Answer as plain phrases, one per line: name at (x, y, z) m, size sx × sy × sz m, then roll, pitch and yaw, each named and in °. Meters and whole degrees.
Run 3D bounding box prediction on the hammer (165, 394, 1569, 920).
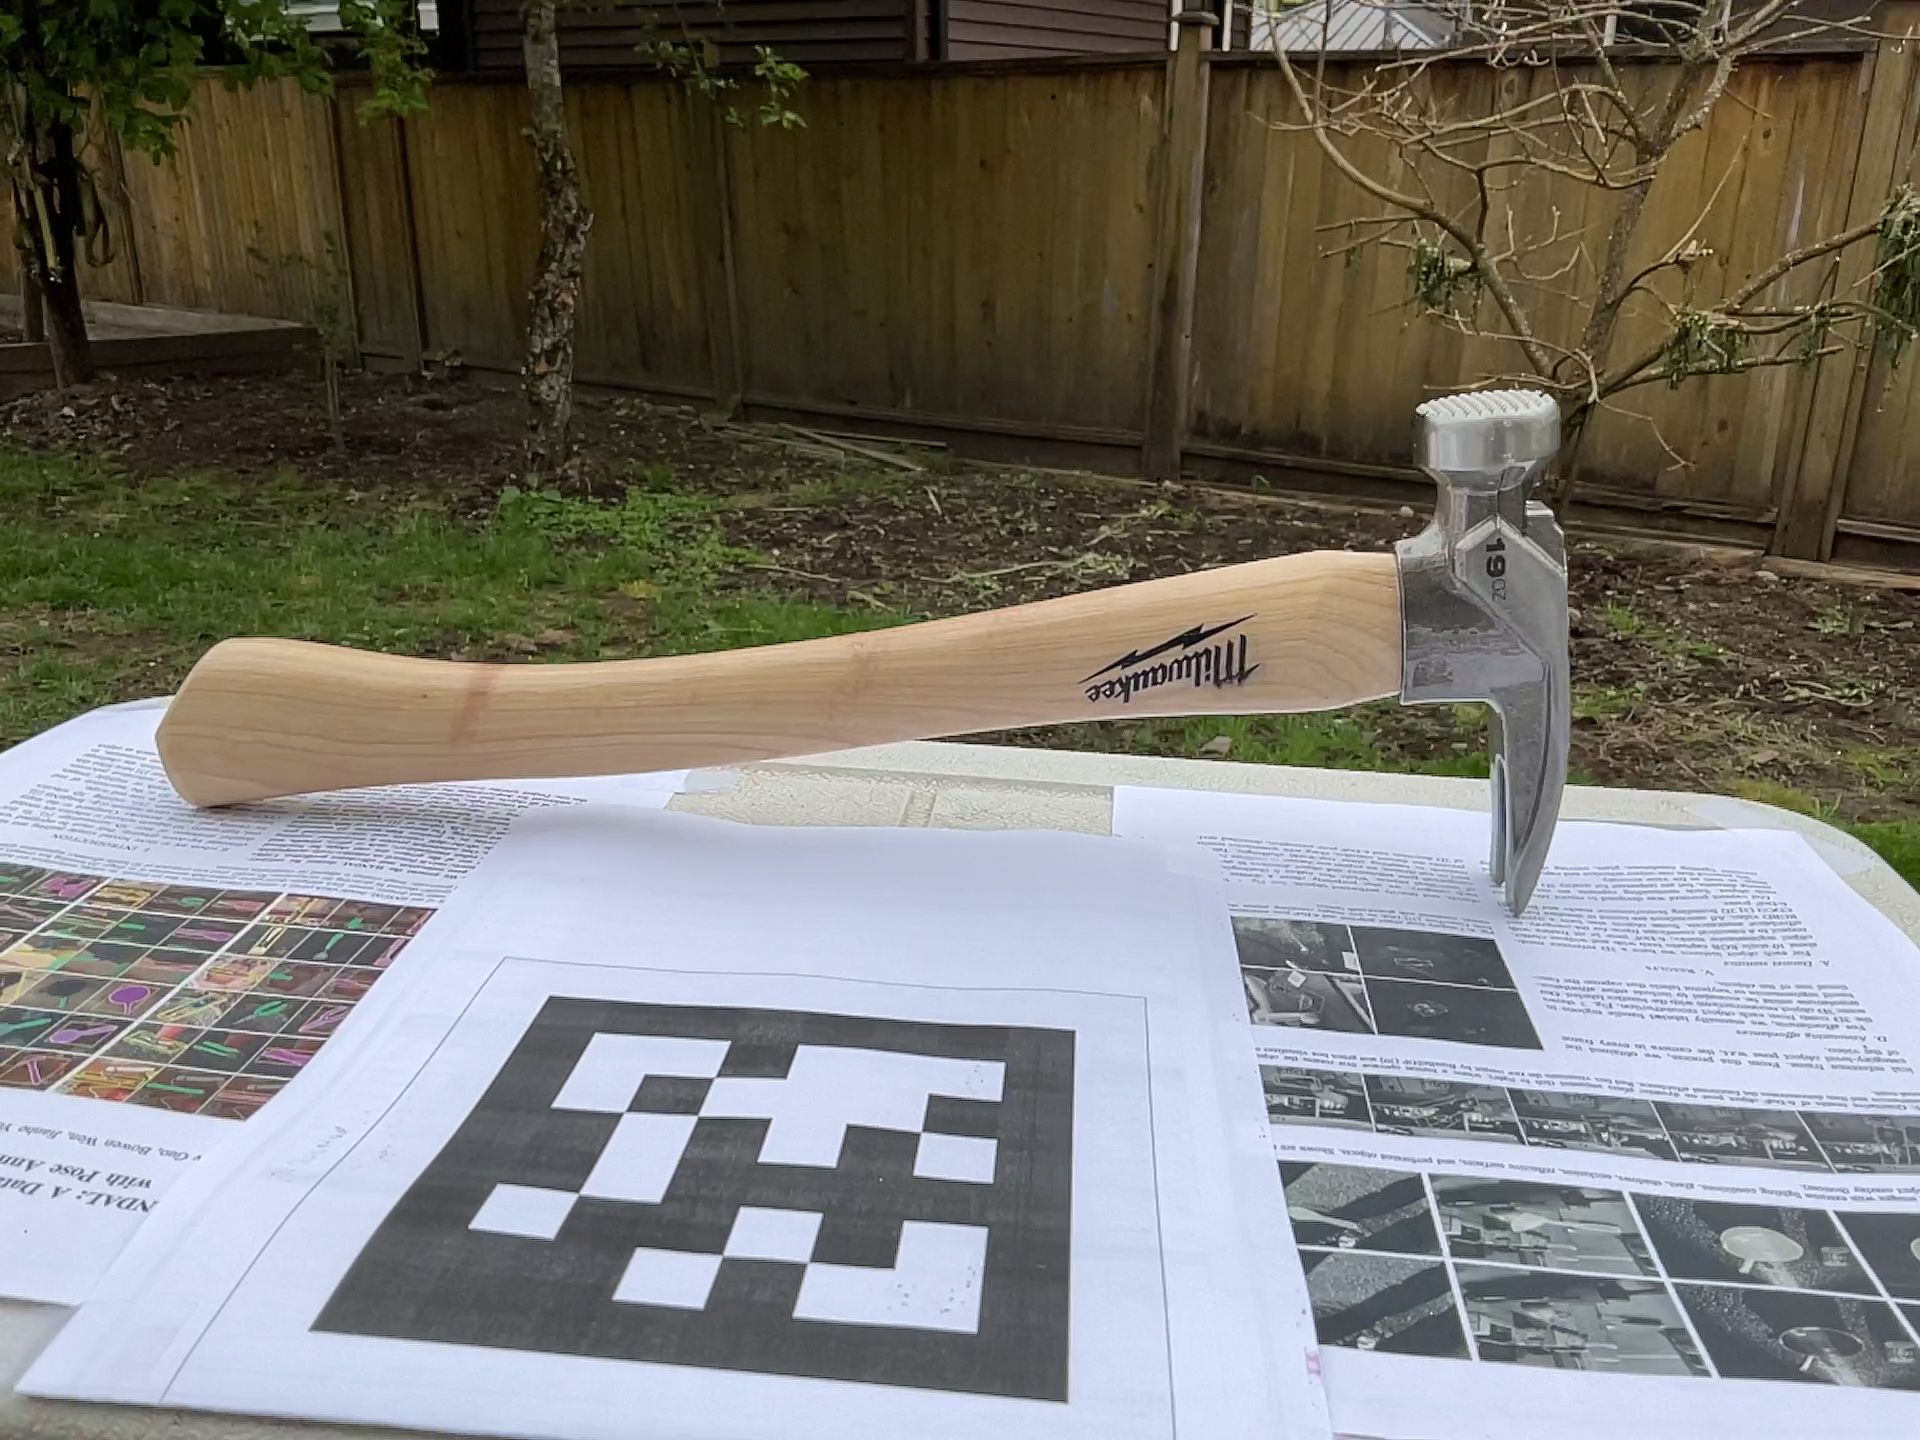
hammer at (-0.034, 0.002, 0.475) m, size 0.410 × 0.146 × 0.038 m, roll -6°, pitch 18°, yaw 8°
